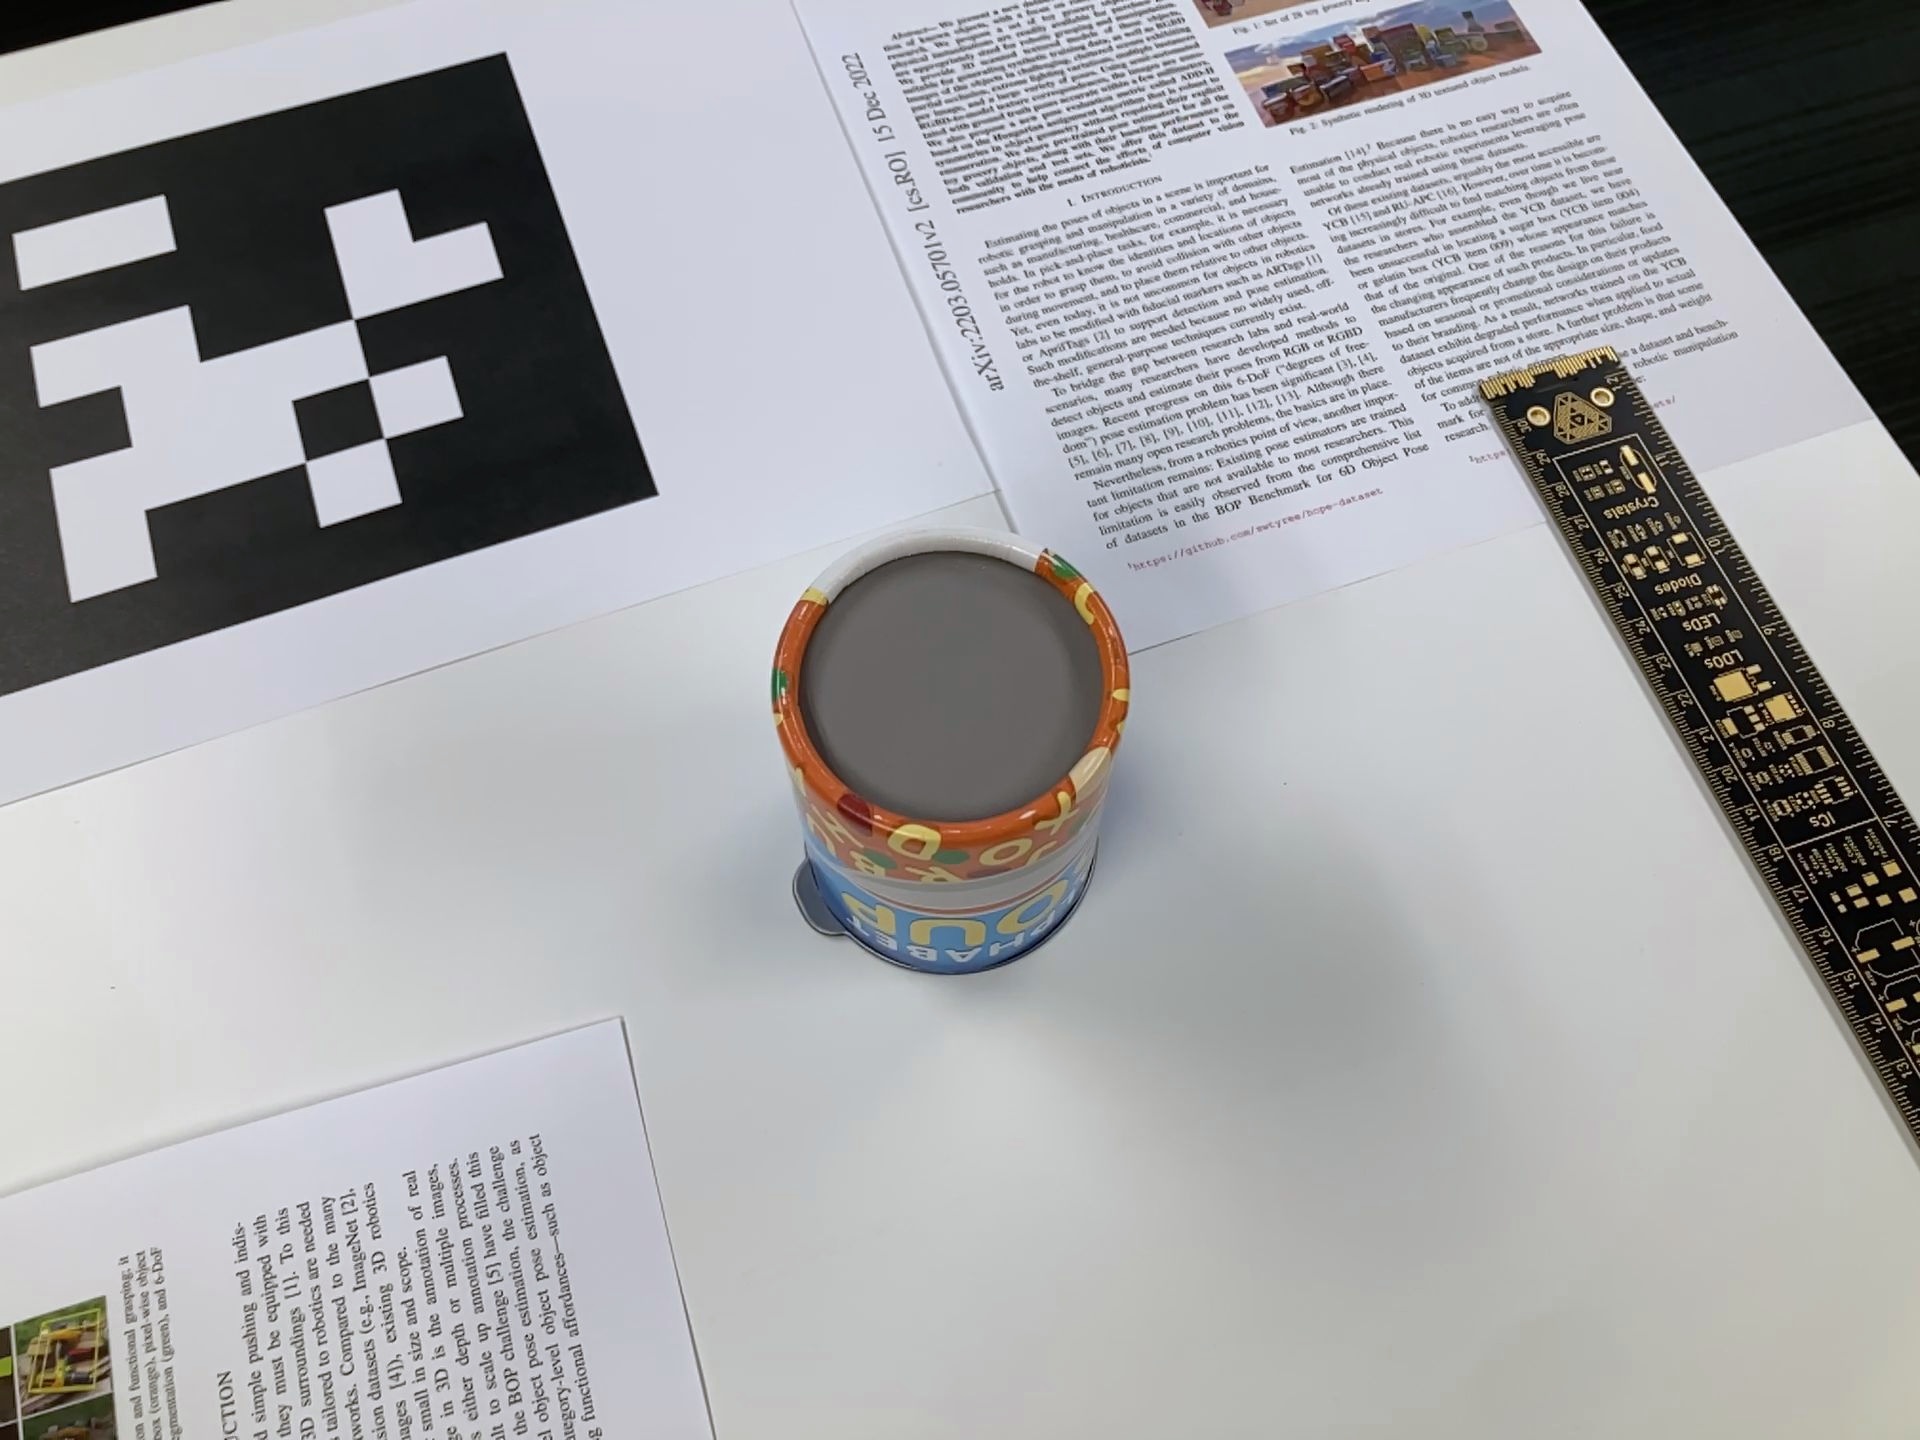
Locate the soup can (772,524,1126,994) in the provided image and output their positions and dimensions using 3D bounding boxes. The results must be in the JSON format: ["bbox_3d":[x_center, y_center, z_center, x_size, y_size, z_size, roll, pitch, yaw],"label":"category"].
[{"bbox_3d":[-0.001,0.011,0.325,0.071,0.084,0.071,0,66,0],"label":"soup can"}]
